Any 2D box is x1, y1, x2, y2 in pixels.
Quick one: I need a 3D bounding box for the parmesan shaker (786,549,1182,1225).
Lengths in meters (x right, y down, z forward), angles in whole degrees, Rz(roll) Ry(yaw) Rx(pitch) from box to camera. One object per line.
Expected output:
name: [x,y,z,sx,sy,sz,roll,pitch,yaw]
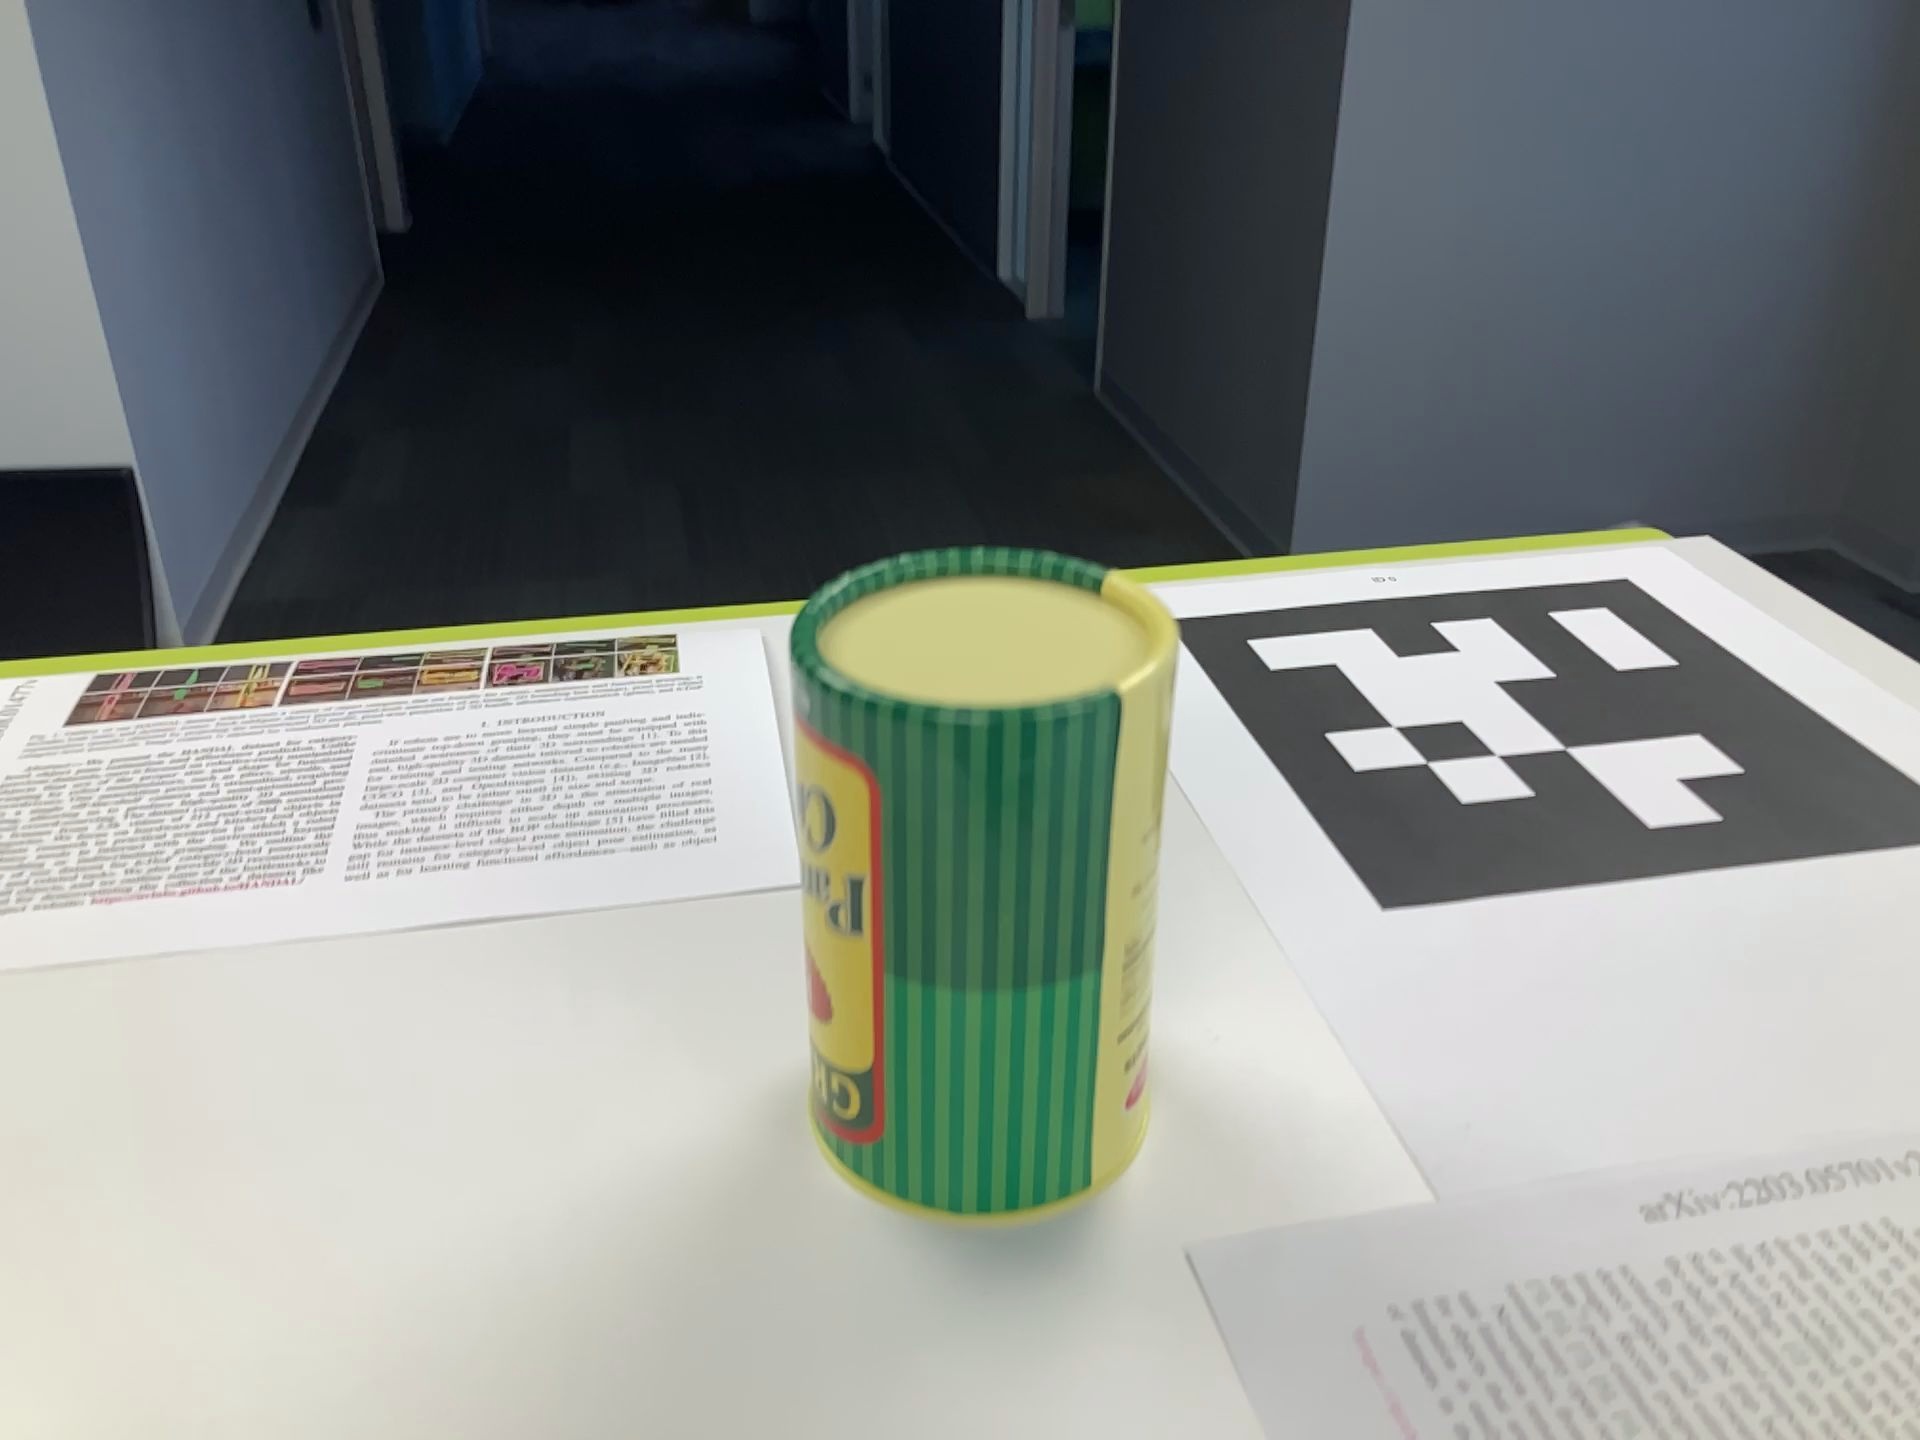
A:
parmesan shaker: [0.004,0.027,0.287,0.071,0.103,0.071,0,28,0]
